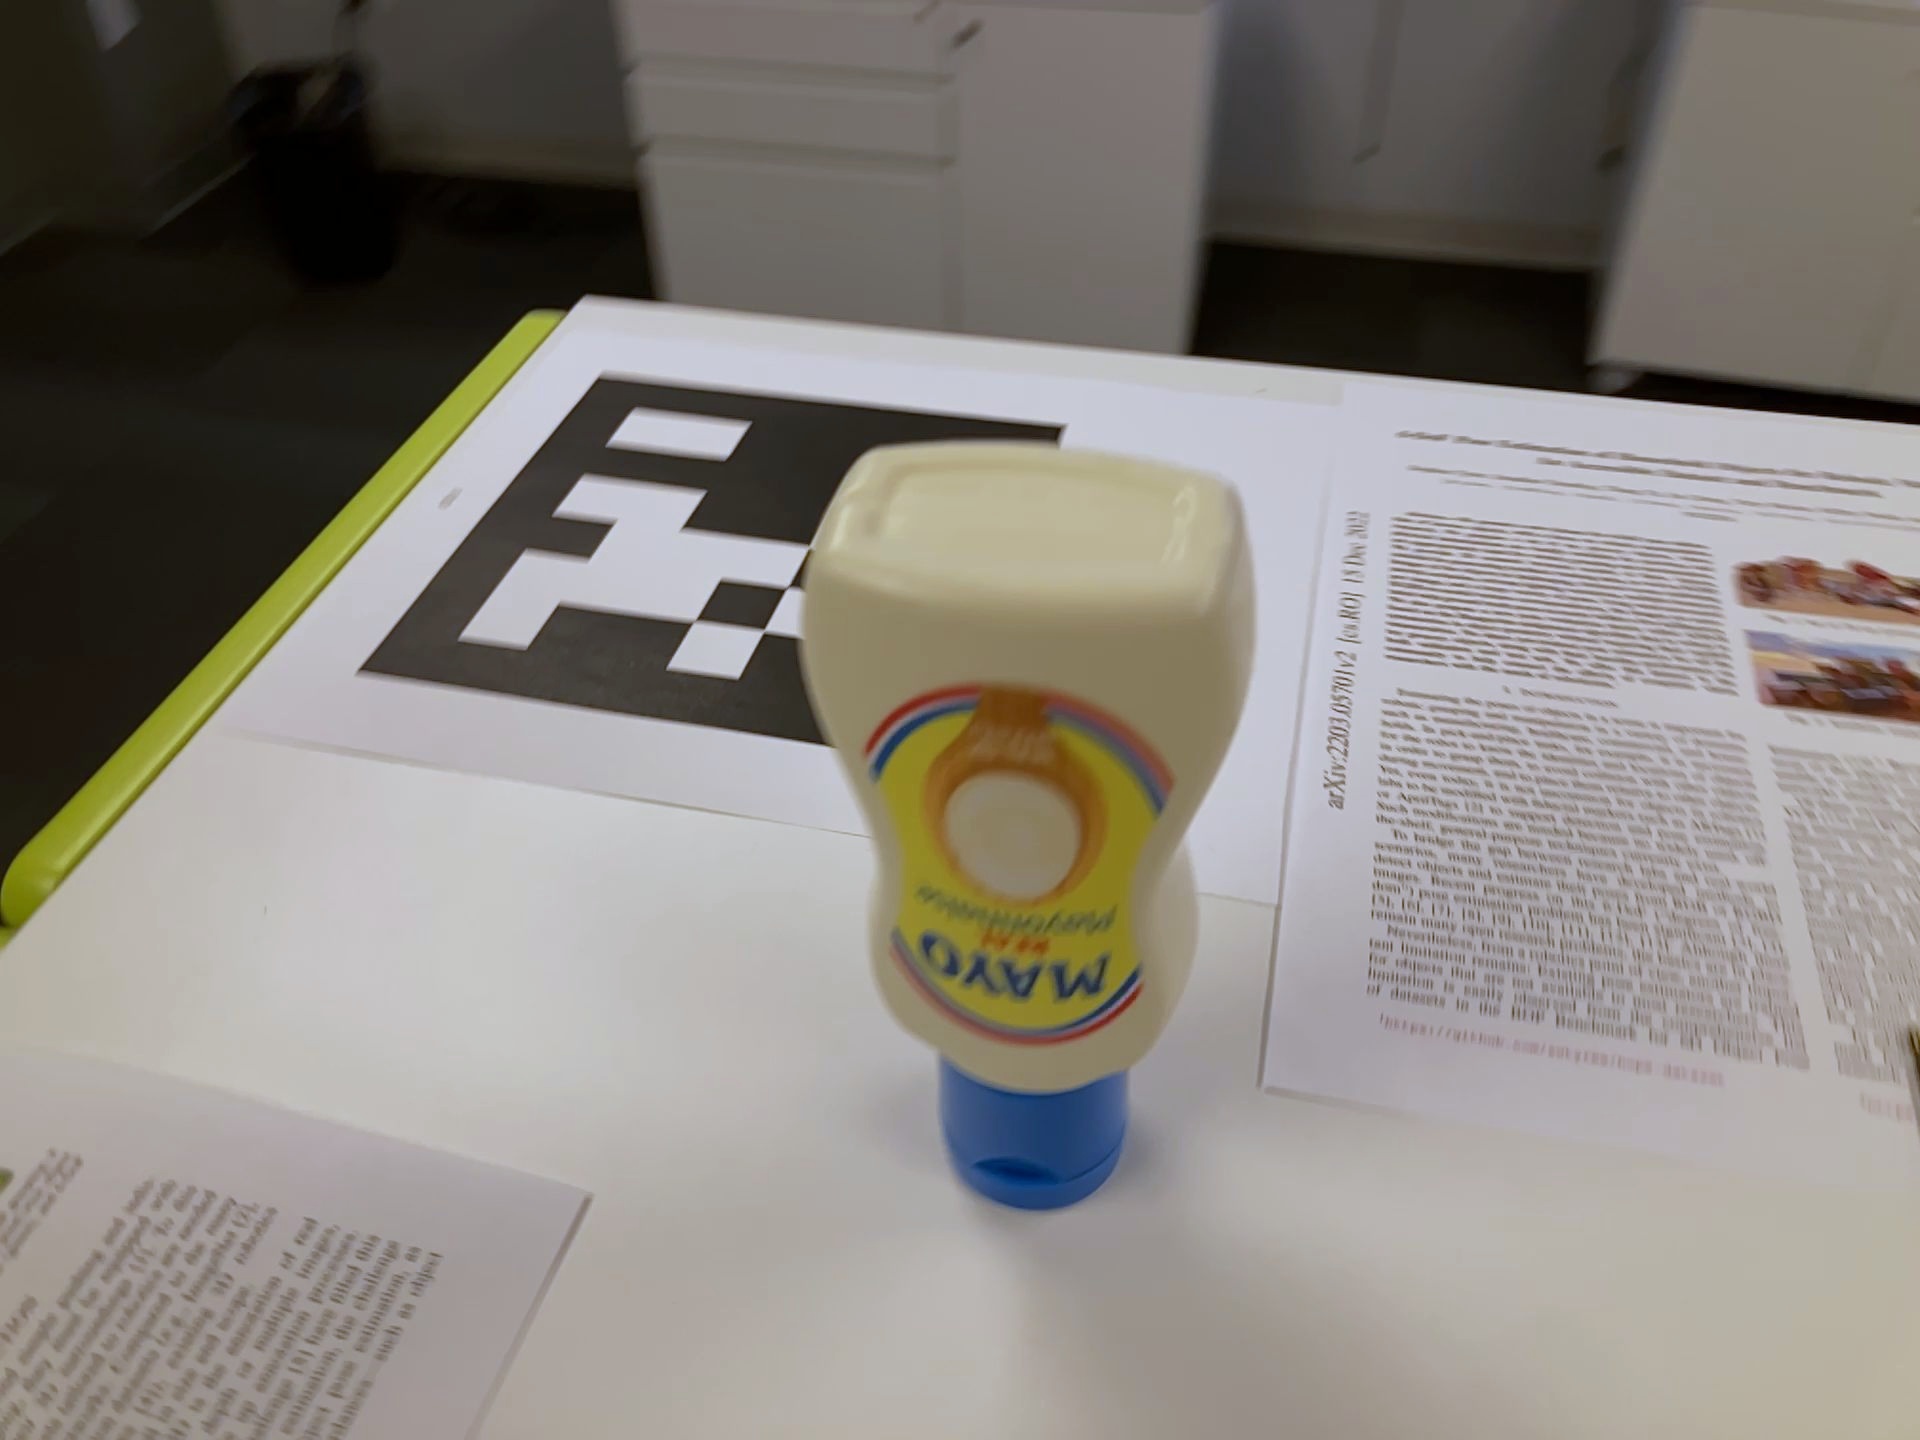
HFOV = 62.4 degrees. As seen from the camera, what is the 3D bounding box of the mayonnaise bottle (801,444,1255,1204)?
[{"bbox_3d":[0.012,0.026,0.265,0.065,0.148,0.041,7,43,11],"label":"mayonnaise bottle"}]
